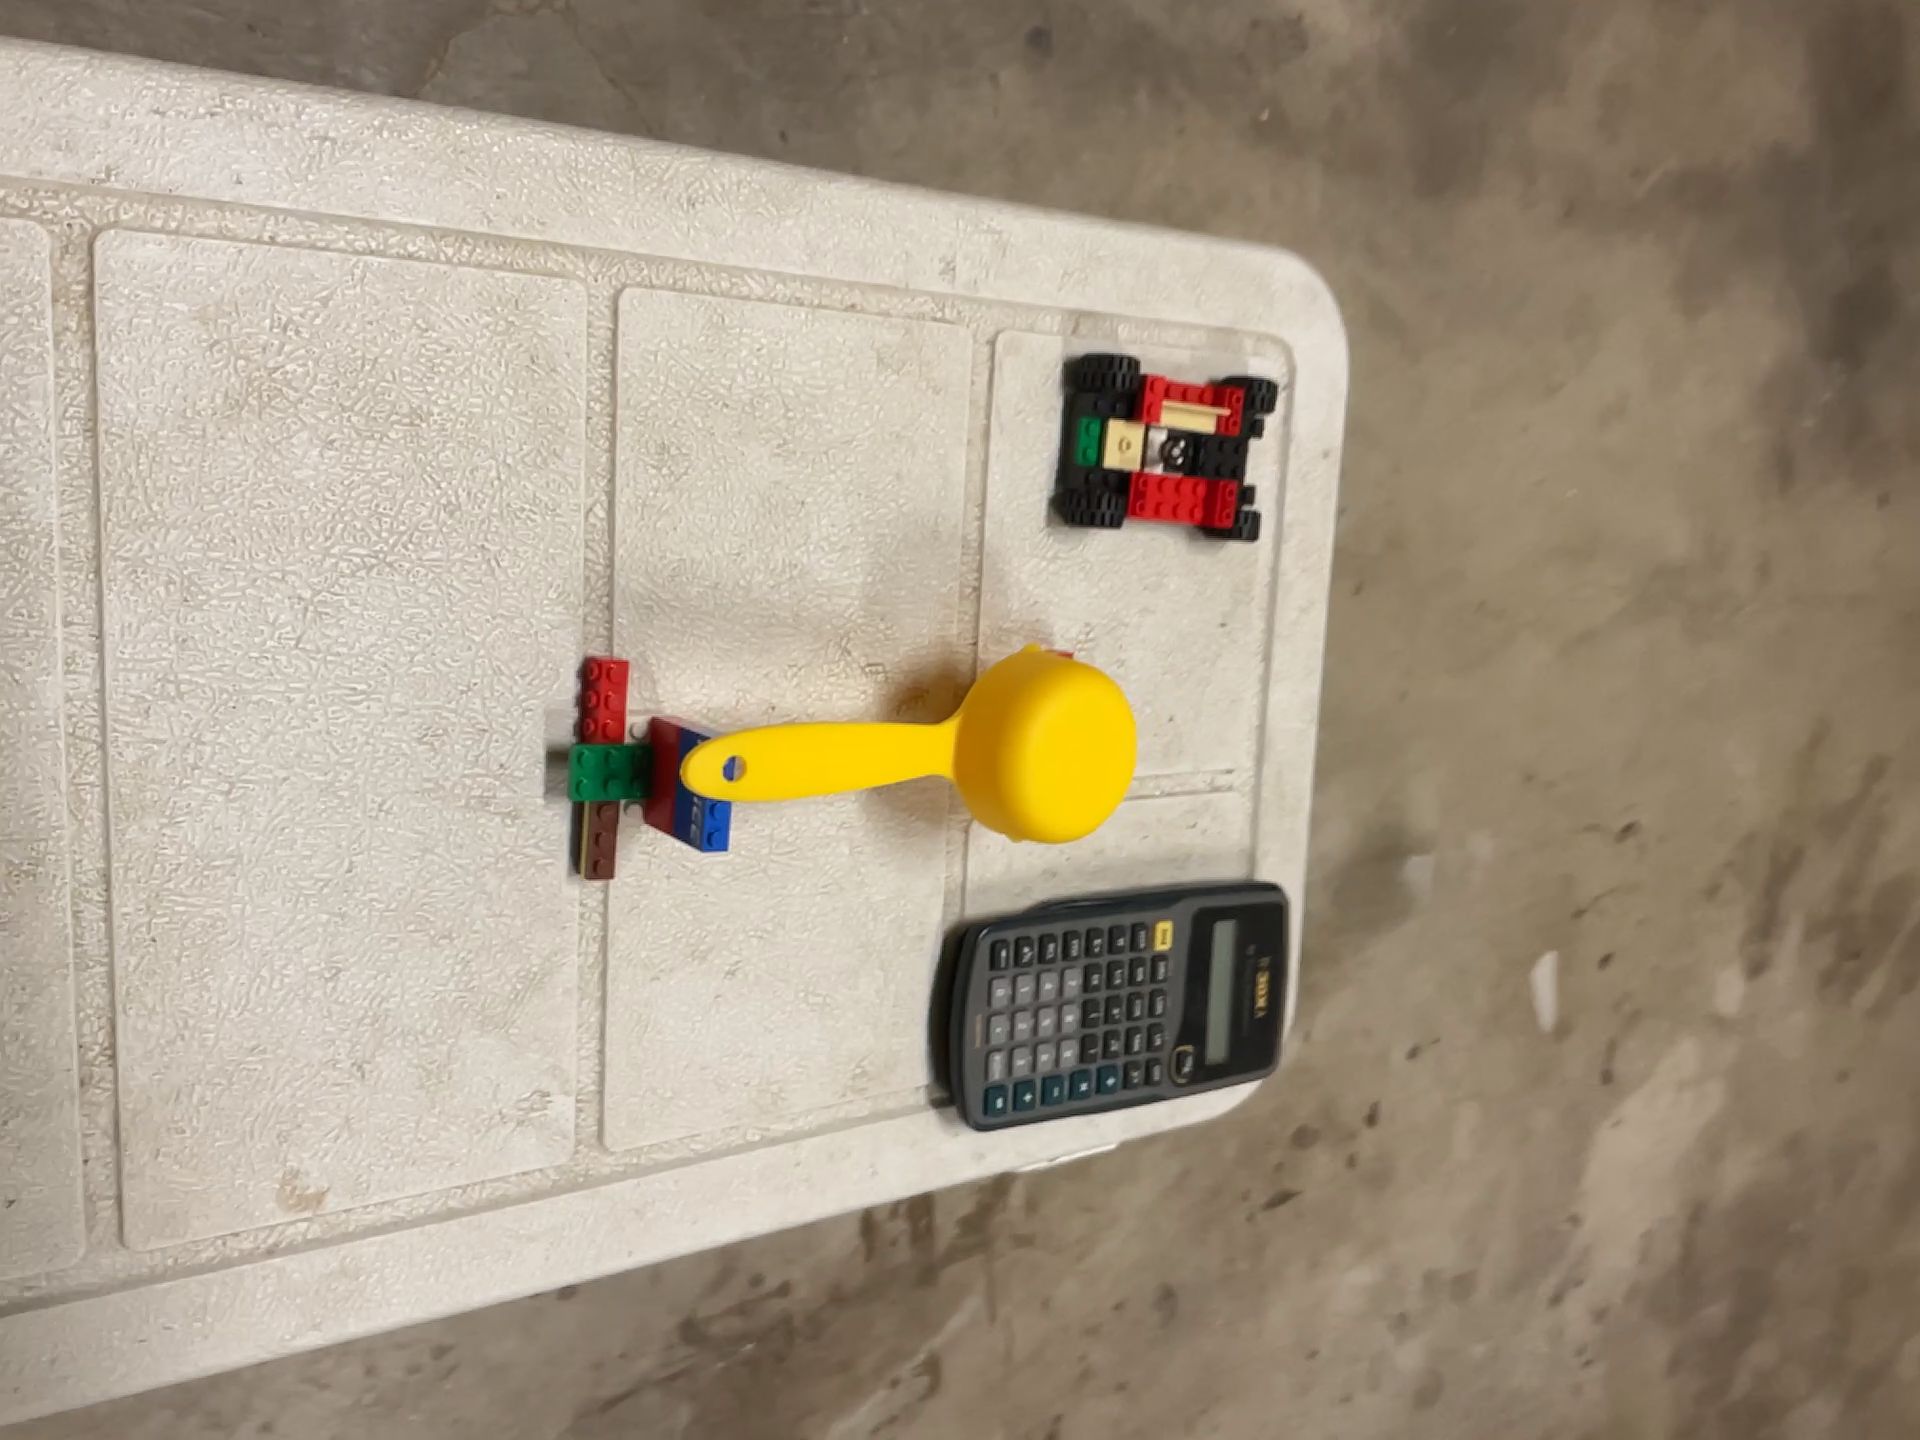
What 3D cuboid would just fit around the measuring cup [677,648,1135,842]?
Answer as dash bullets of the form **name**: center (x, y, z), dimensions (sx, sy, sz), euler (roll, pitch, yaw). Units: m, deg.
- **measuring cup**: center (-0.008, 0.012, 0.469), dimensions (0.156, 0.029, 0.062), euler (-3, 101, -40)
